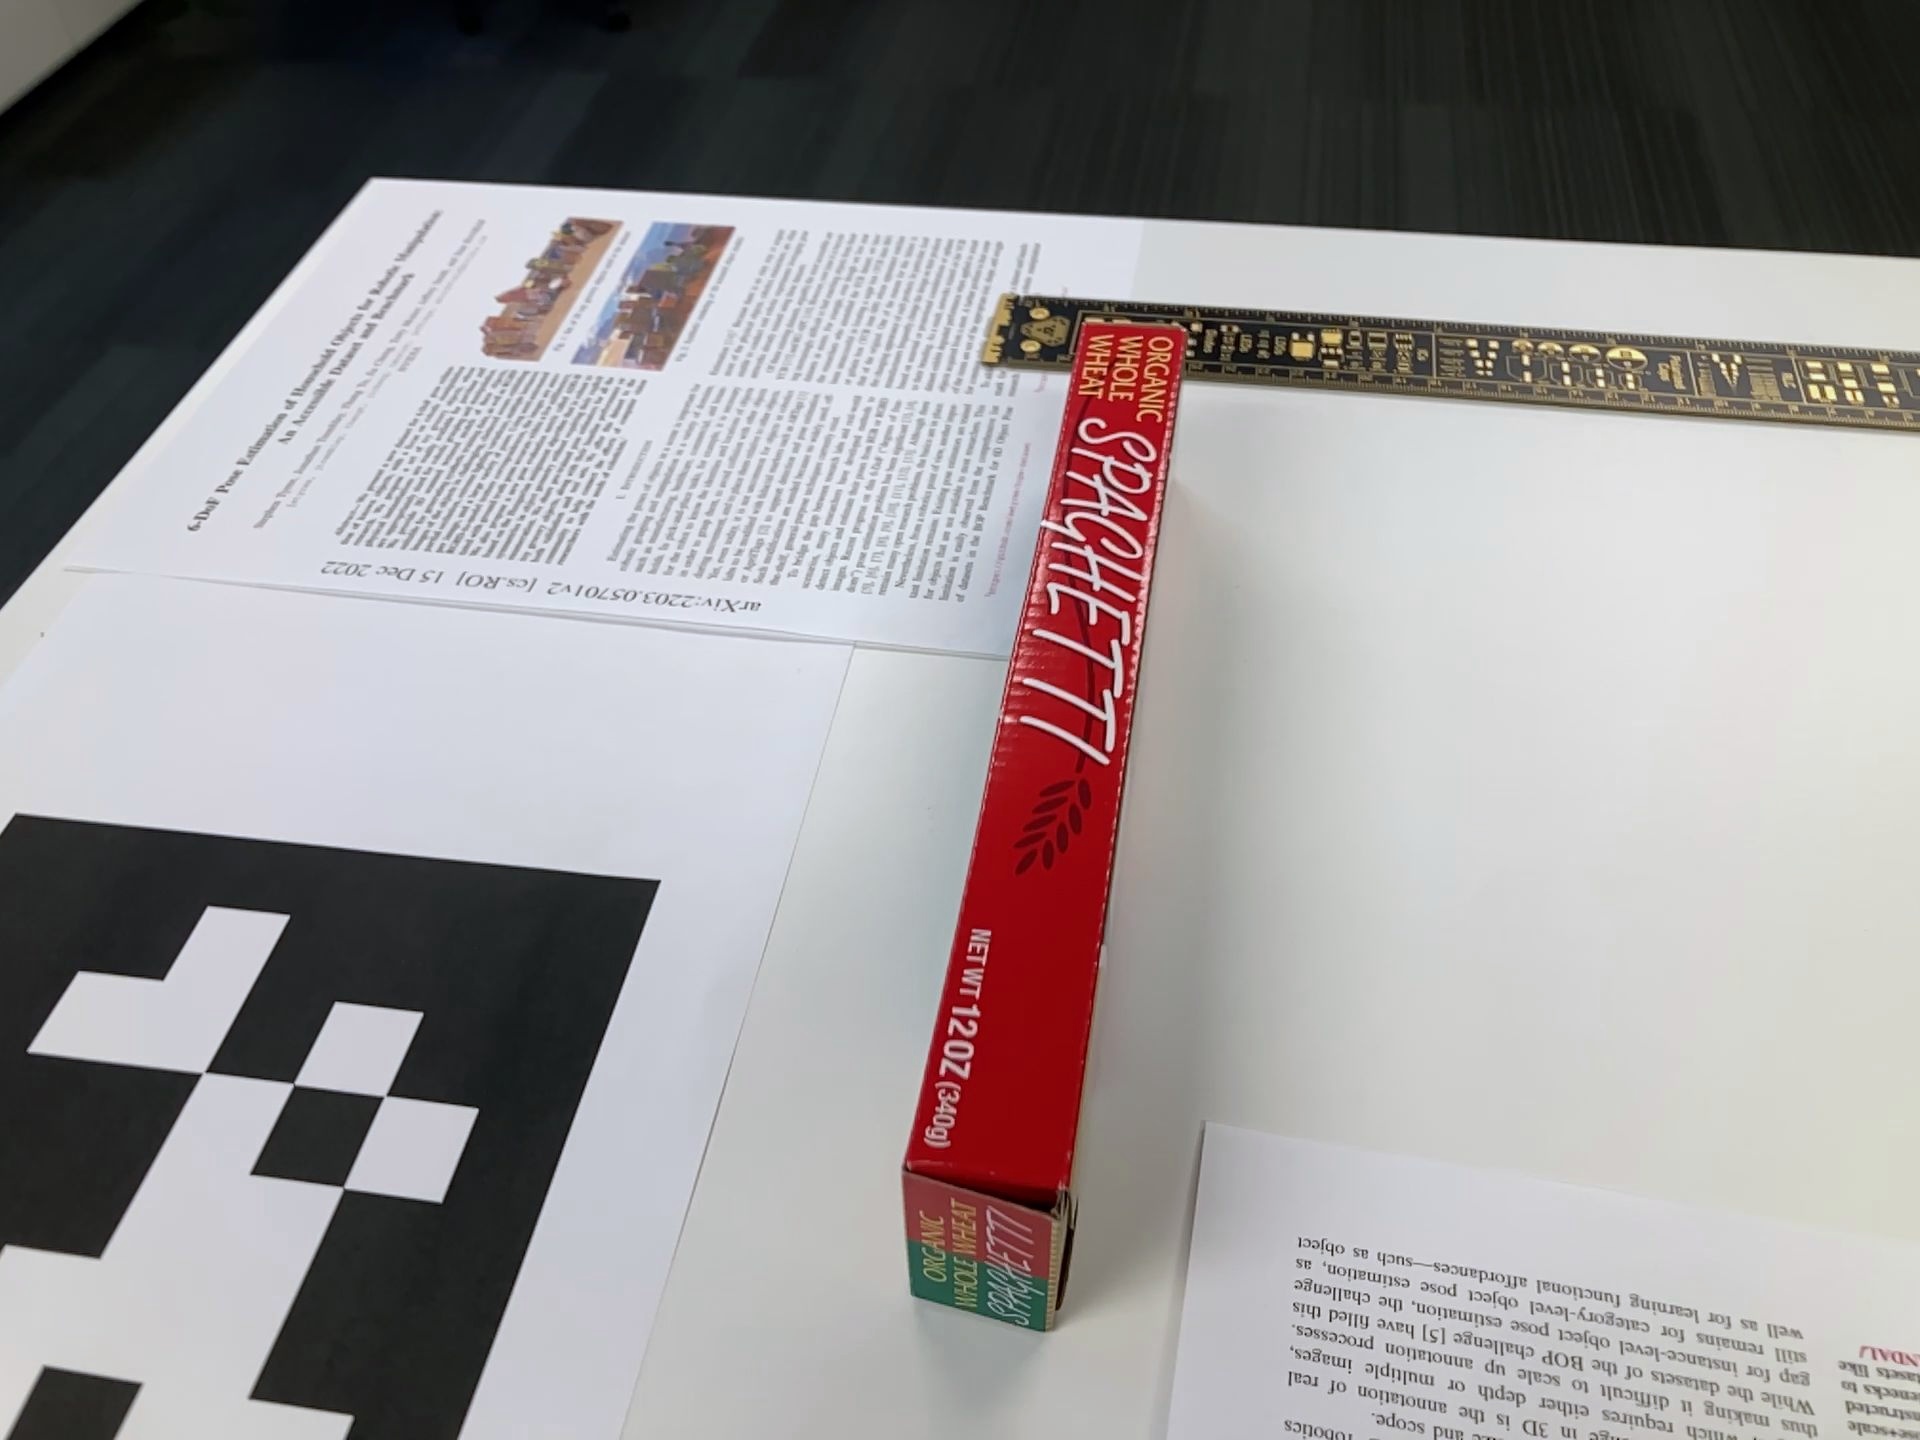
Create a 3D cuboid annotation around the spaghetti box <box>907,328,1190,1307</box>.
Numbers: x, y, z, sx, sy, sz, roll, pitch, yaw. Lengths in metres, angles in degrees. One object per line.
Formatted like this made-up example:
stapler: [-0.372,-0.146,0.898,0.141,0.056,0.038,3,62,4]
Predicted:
spaghetti box: [0.026,0.000,0.356,0.028,0.050,0.250,7,47,7]
